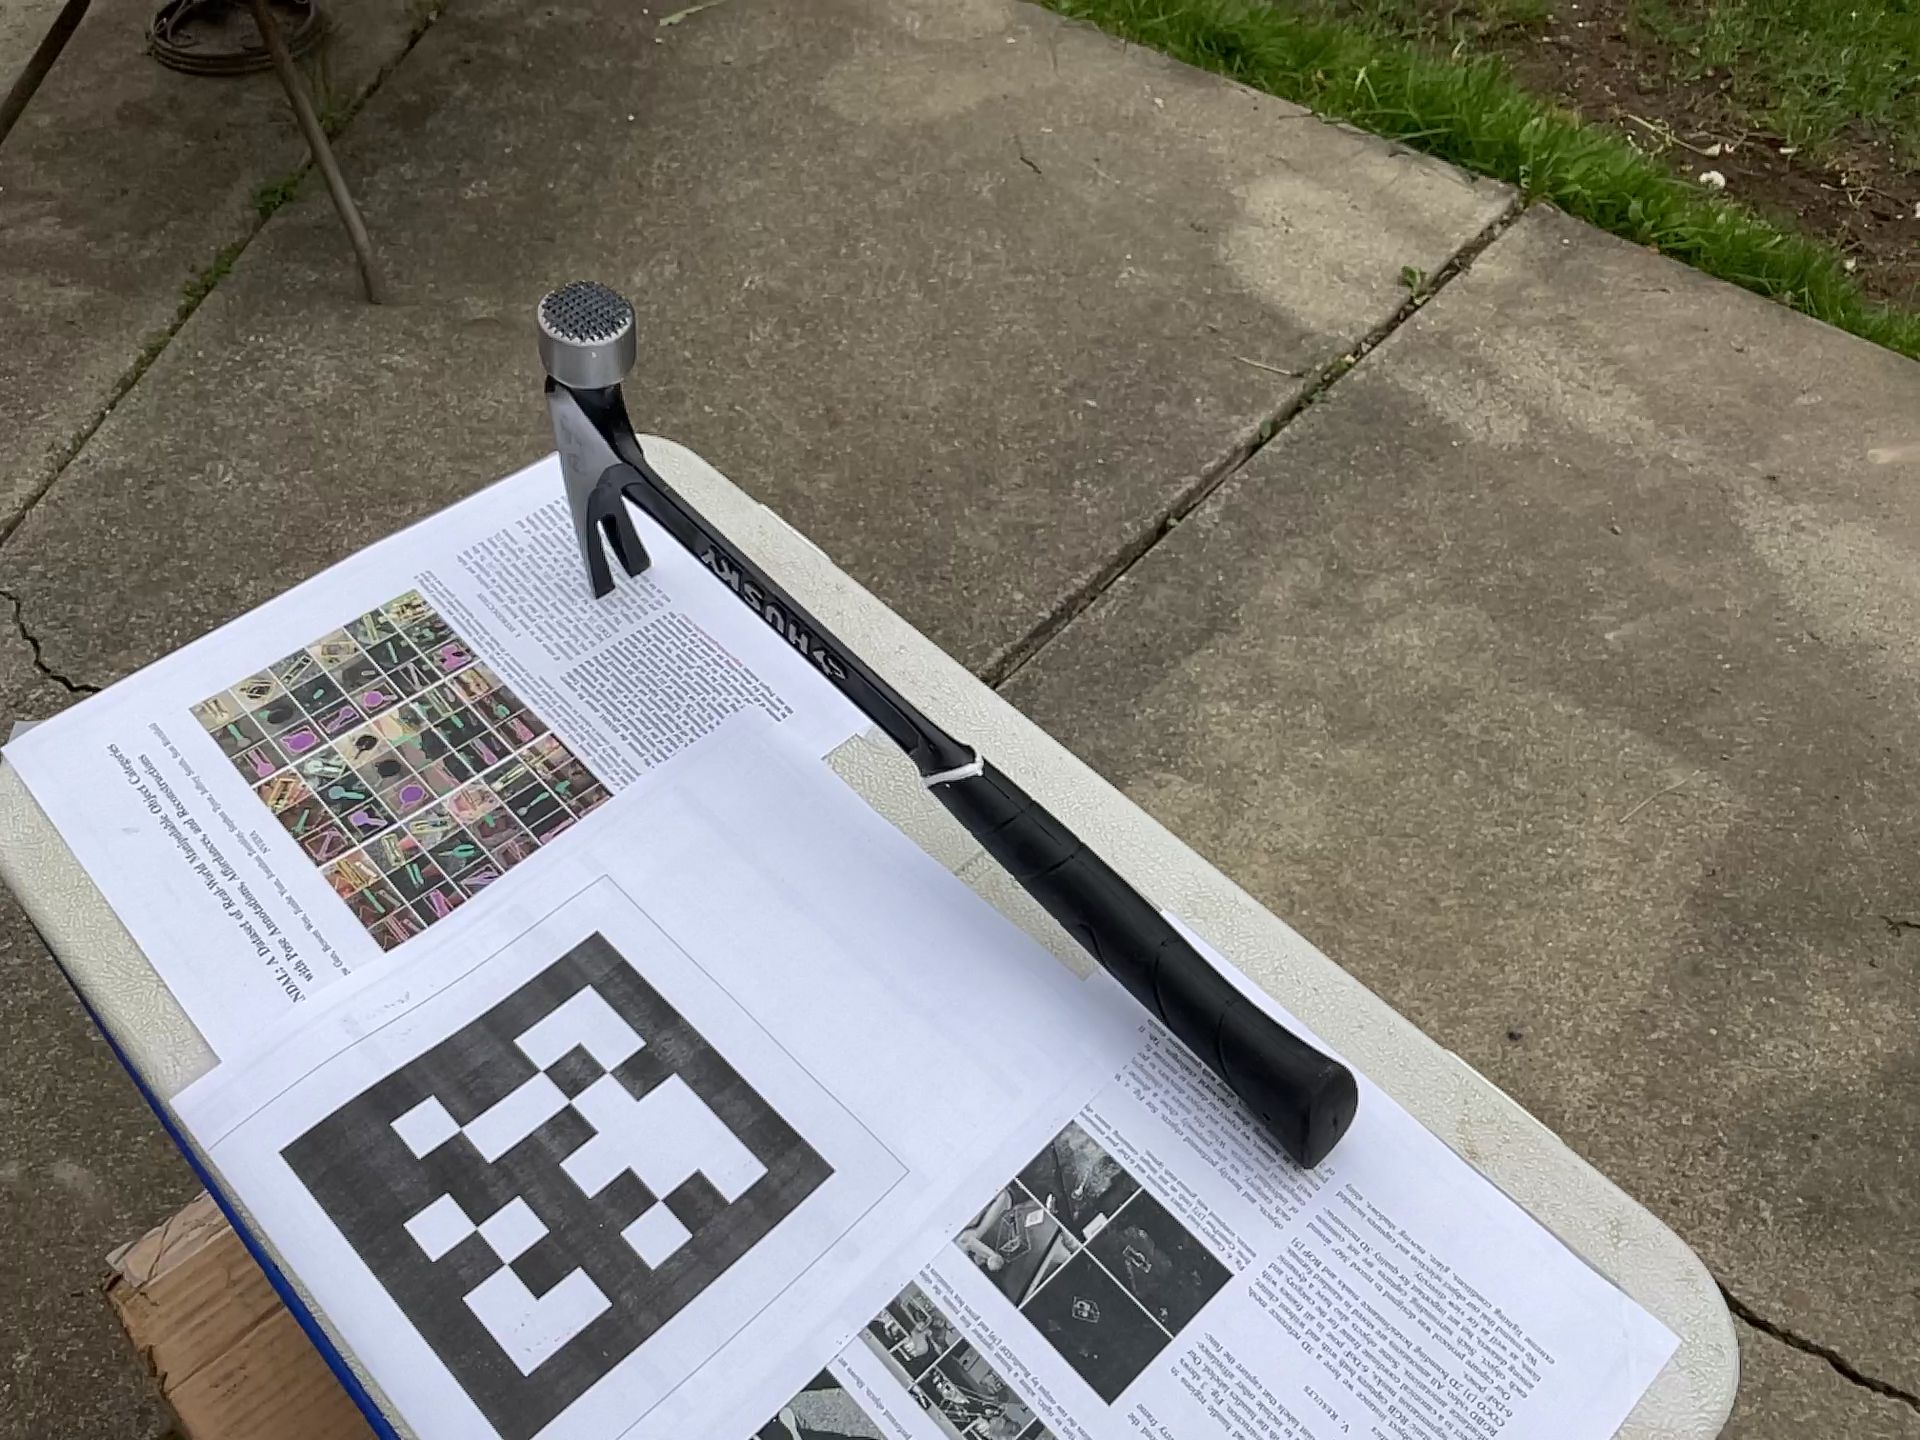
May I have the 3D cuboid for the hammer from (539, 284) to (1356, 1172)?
[{"bbox_3d":[-0.018,0.011,0.595,0.409,0.149,0.036,43,60,17],"label":"hammer"}]
